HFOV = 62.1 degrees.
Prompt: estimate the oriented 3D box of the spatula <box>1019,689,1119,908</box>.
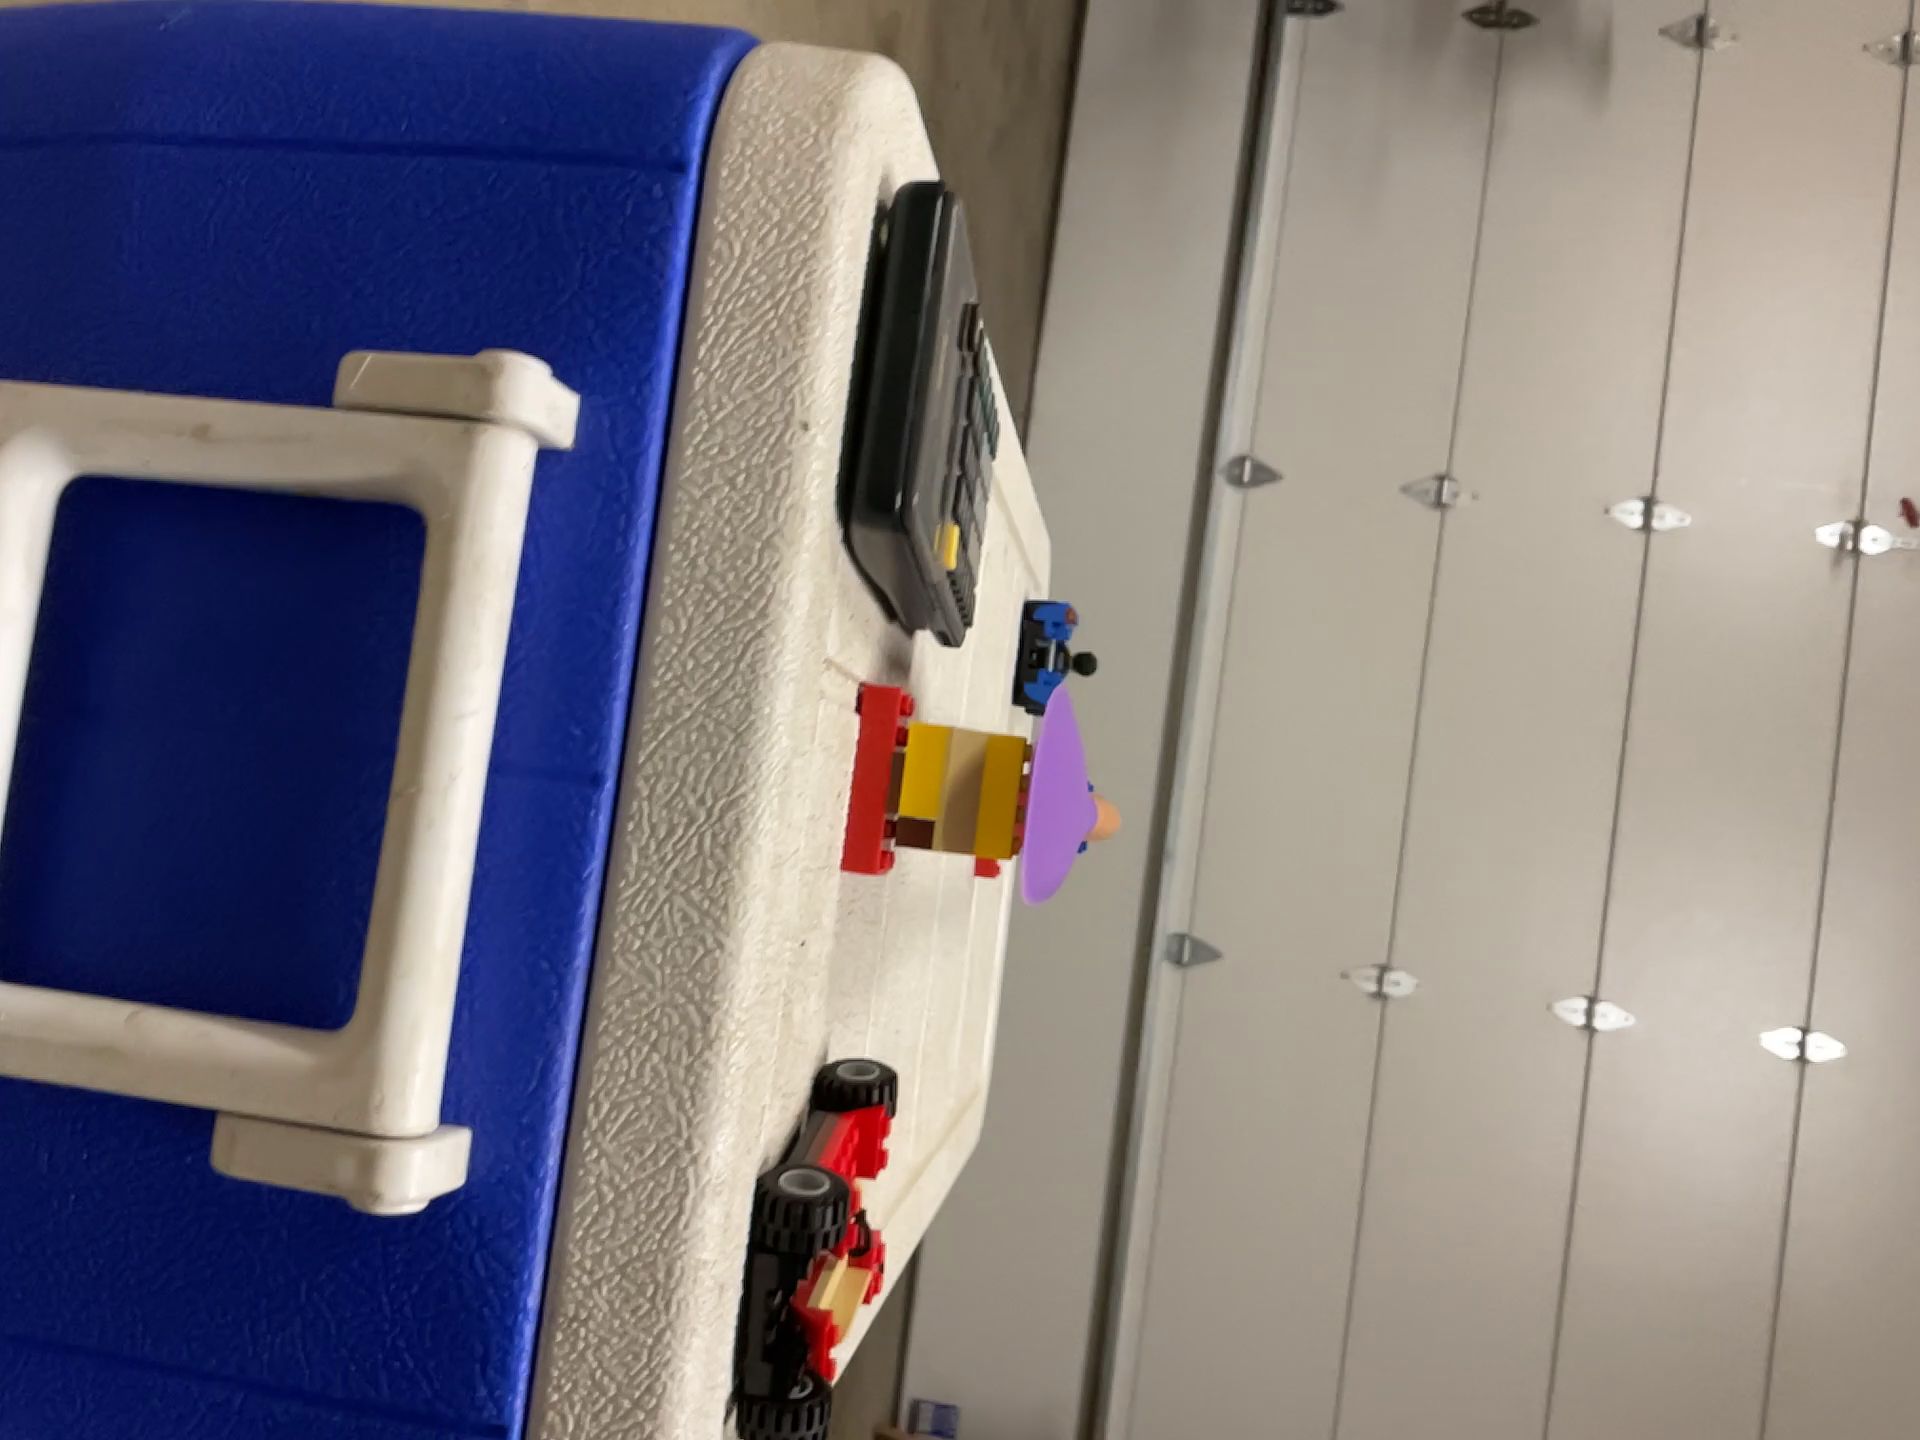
[{"bbox_3d":[0.041,0.030,0.545,0.316,0.018,0.060,30,67,-80],"label":"spatula"}]
